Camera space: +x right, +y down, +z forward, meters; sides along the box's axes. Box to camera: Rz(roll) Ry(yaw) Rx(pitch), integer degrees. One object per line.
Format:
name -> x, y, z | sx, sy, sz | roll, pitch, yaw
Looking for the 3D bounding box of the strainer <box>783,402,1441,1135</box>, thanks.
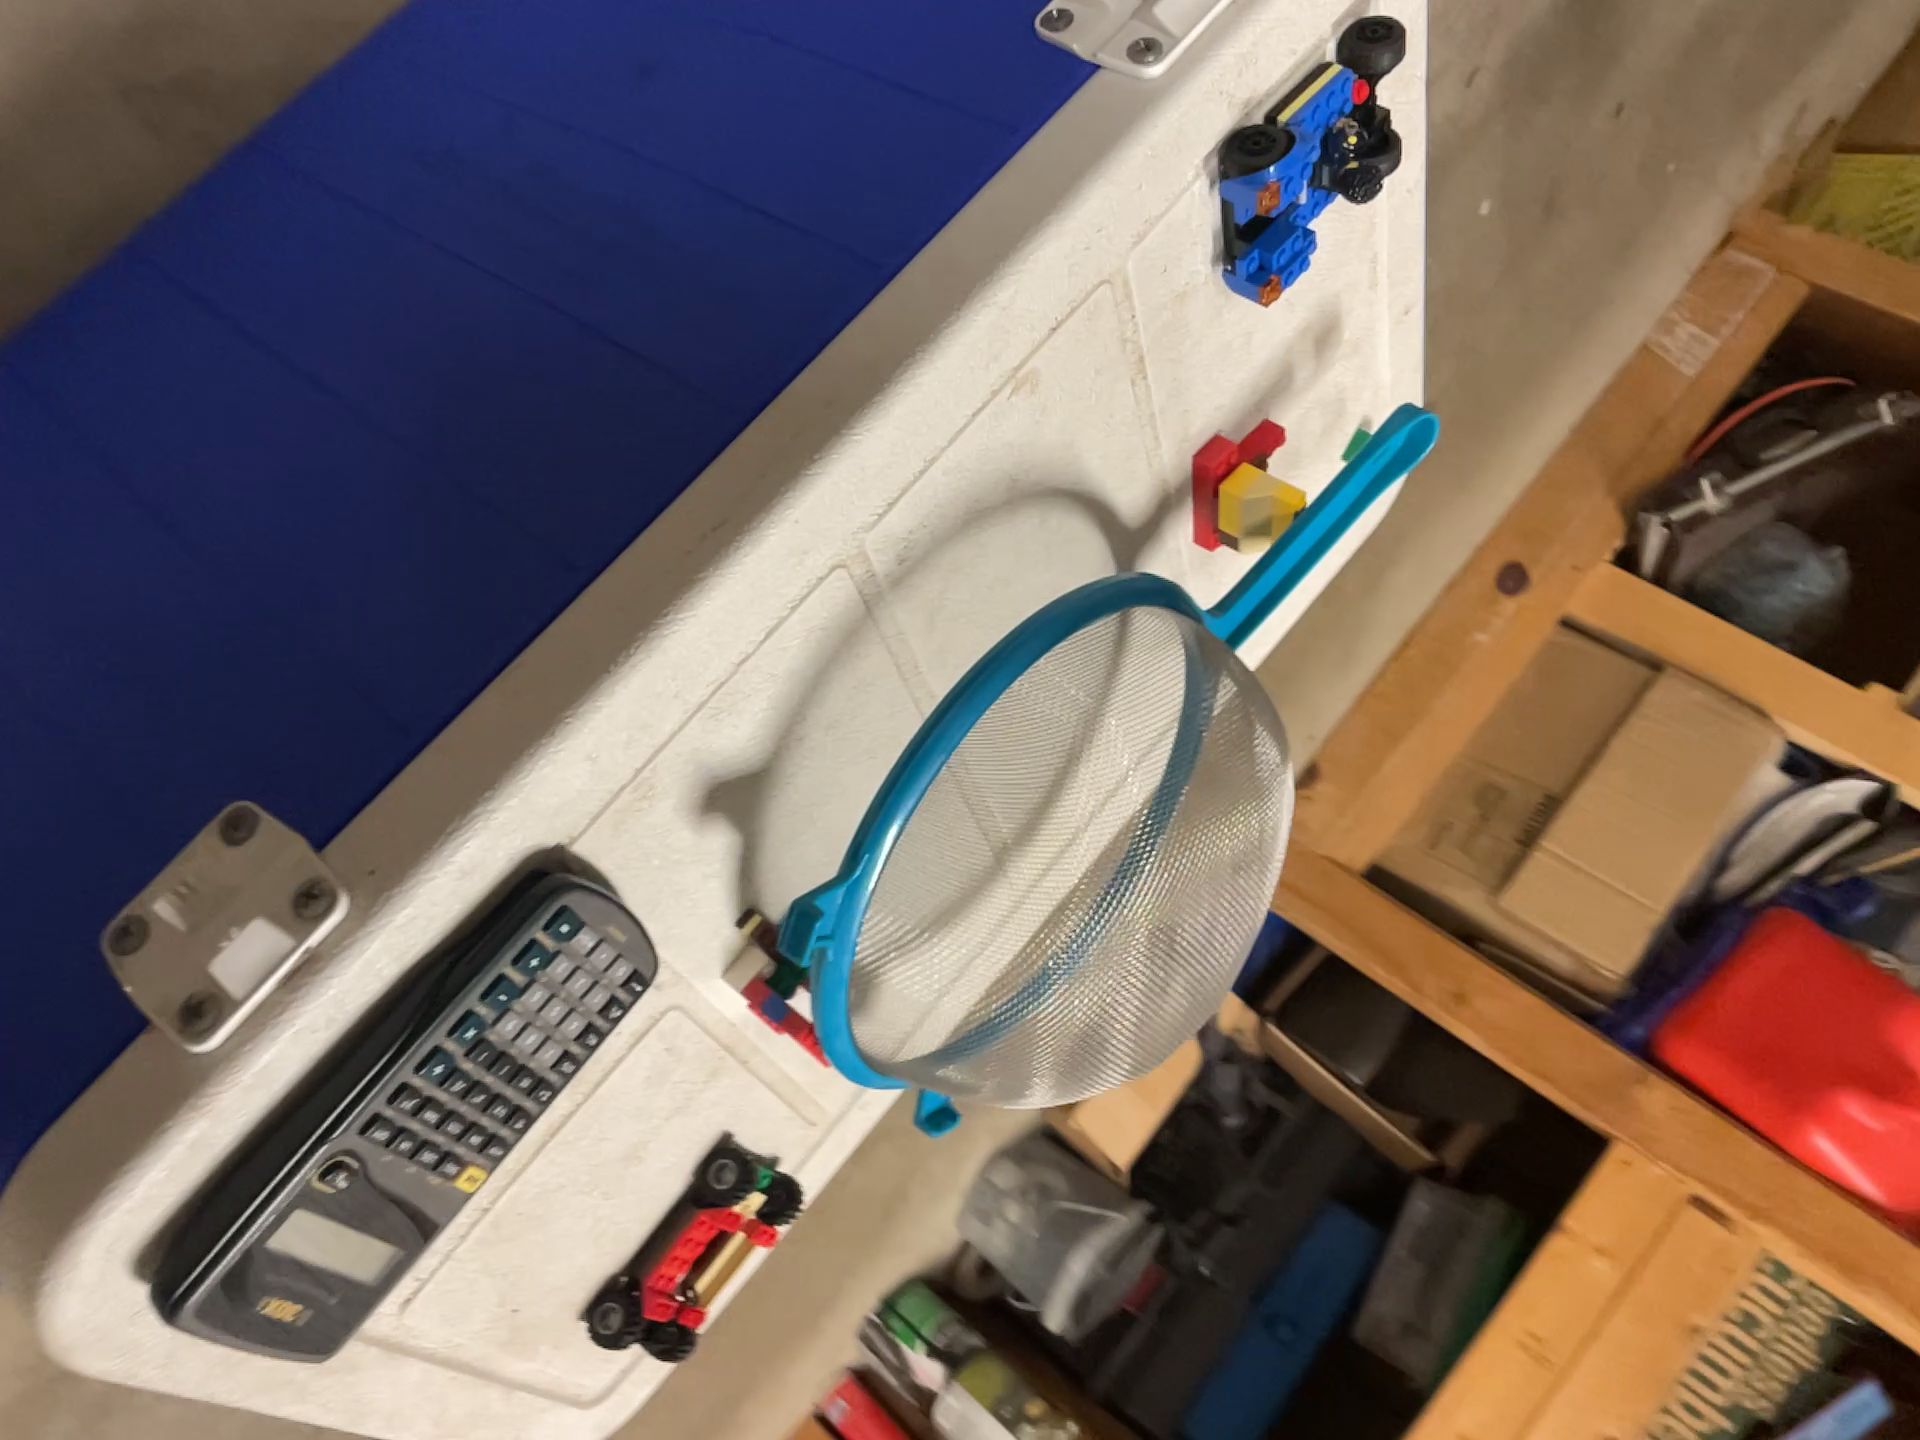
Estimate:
strainer -> 0.098, 0.017, 0.572 | 0.340, 0.095, 0.210 | -47, 150, -15
